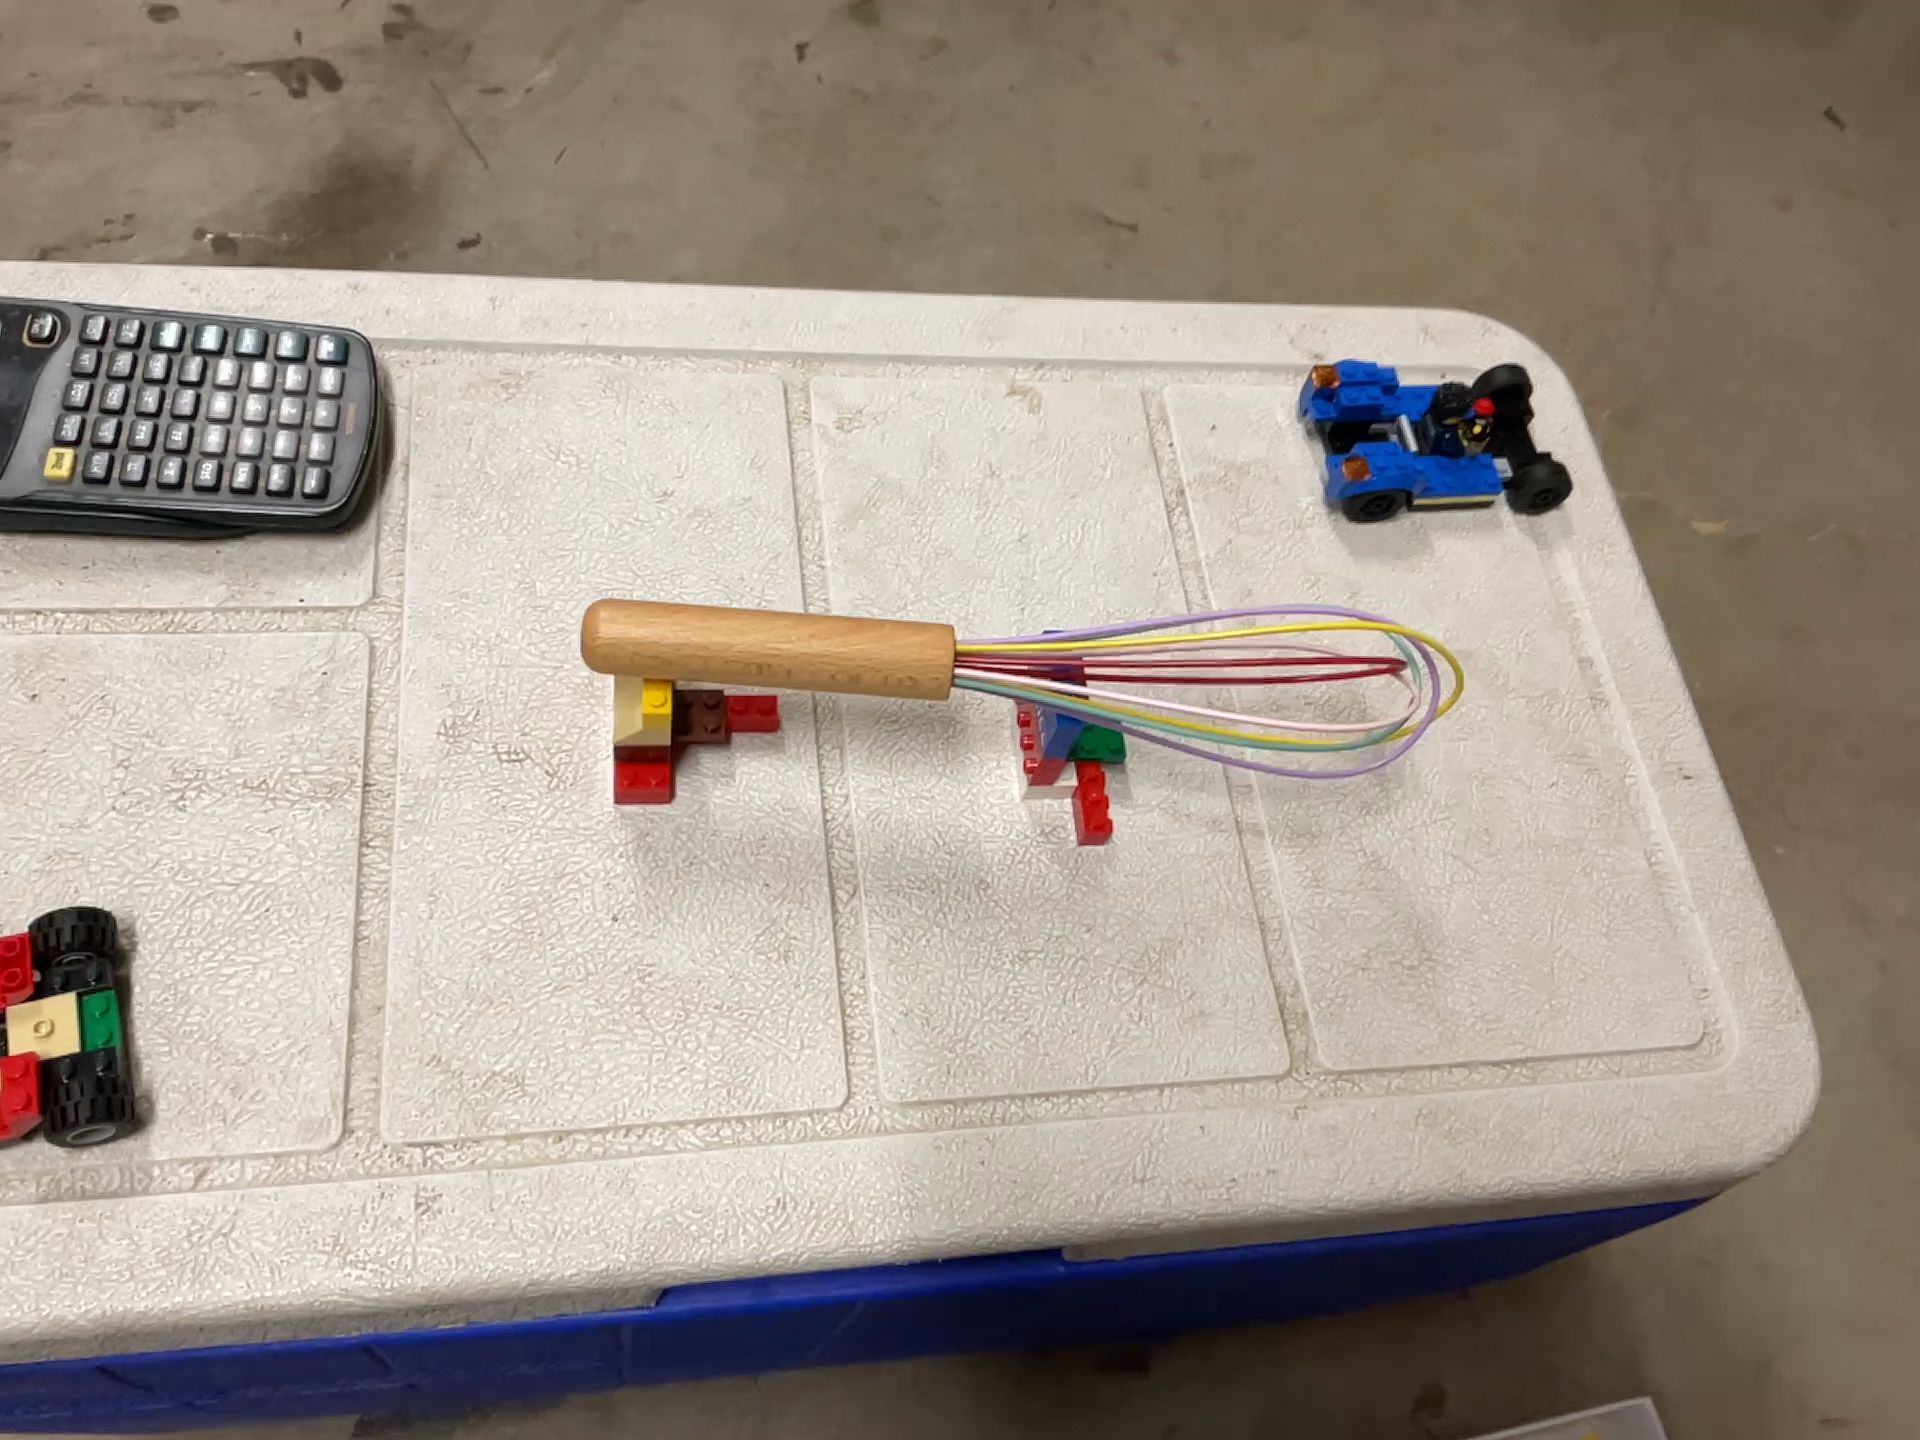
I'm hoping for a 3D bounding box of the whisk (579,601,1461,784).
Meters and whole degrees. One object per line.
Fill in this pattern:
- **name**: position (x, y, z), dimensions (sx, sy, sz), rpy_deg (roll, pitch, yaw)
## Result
- **whisk**: position (0.020, -0.018, 0.442), dimensions (0.245, 0.047, 0.051), rpy_deg (4, 74, -6)
